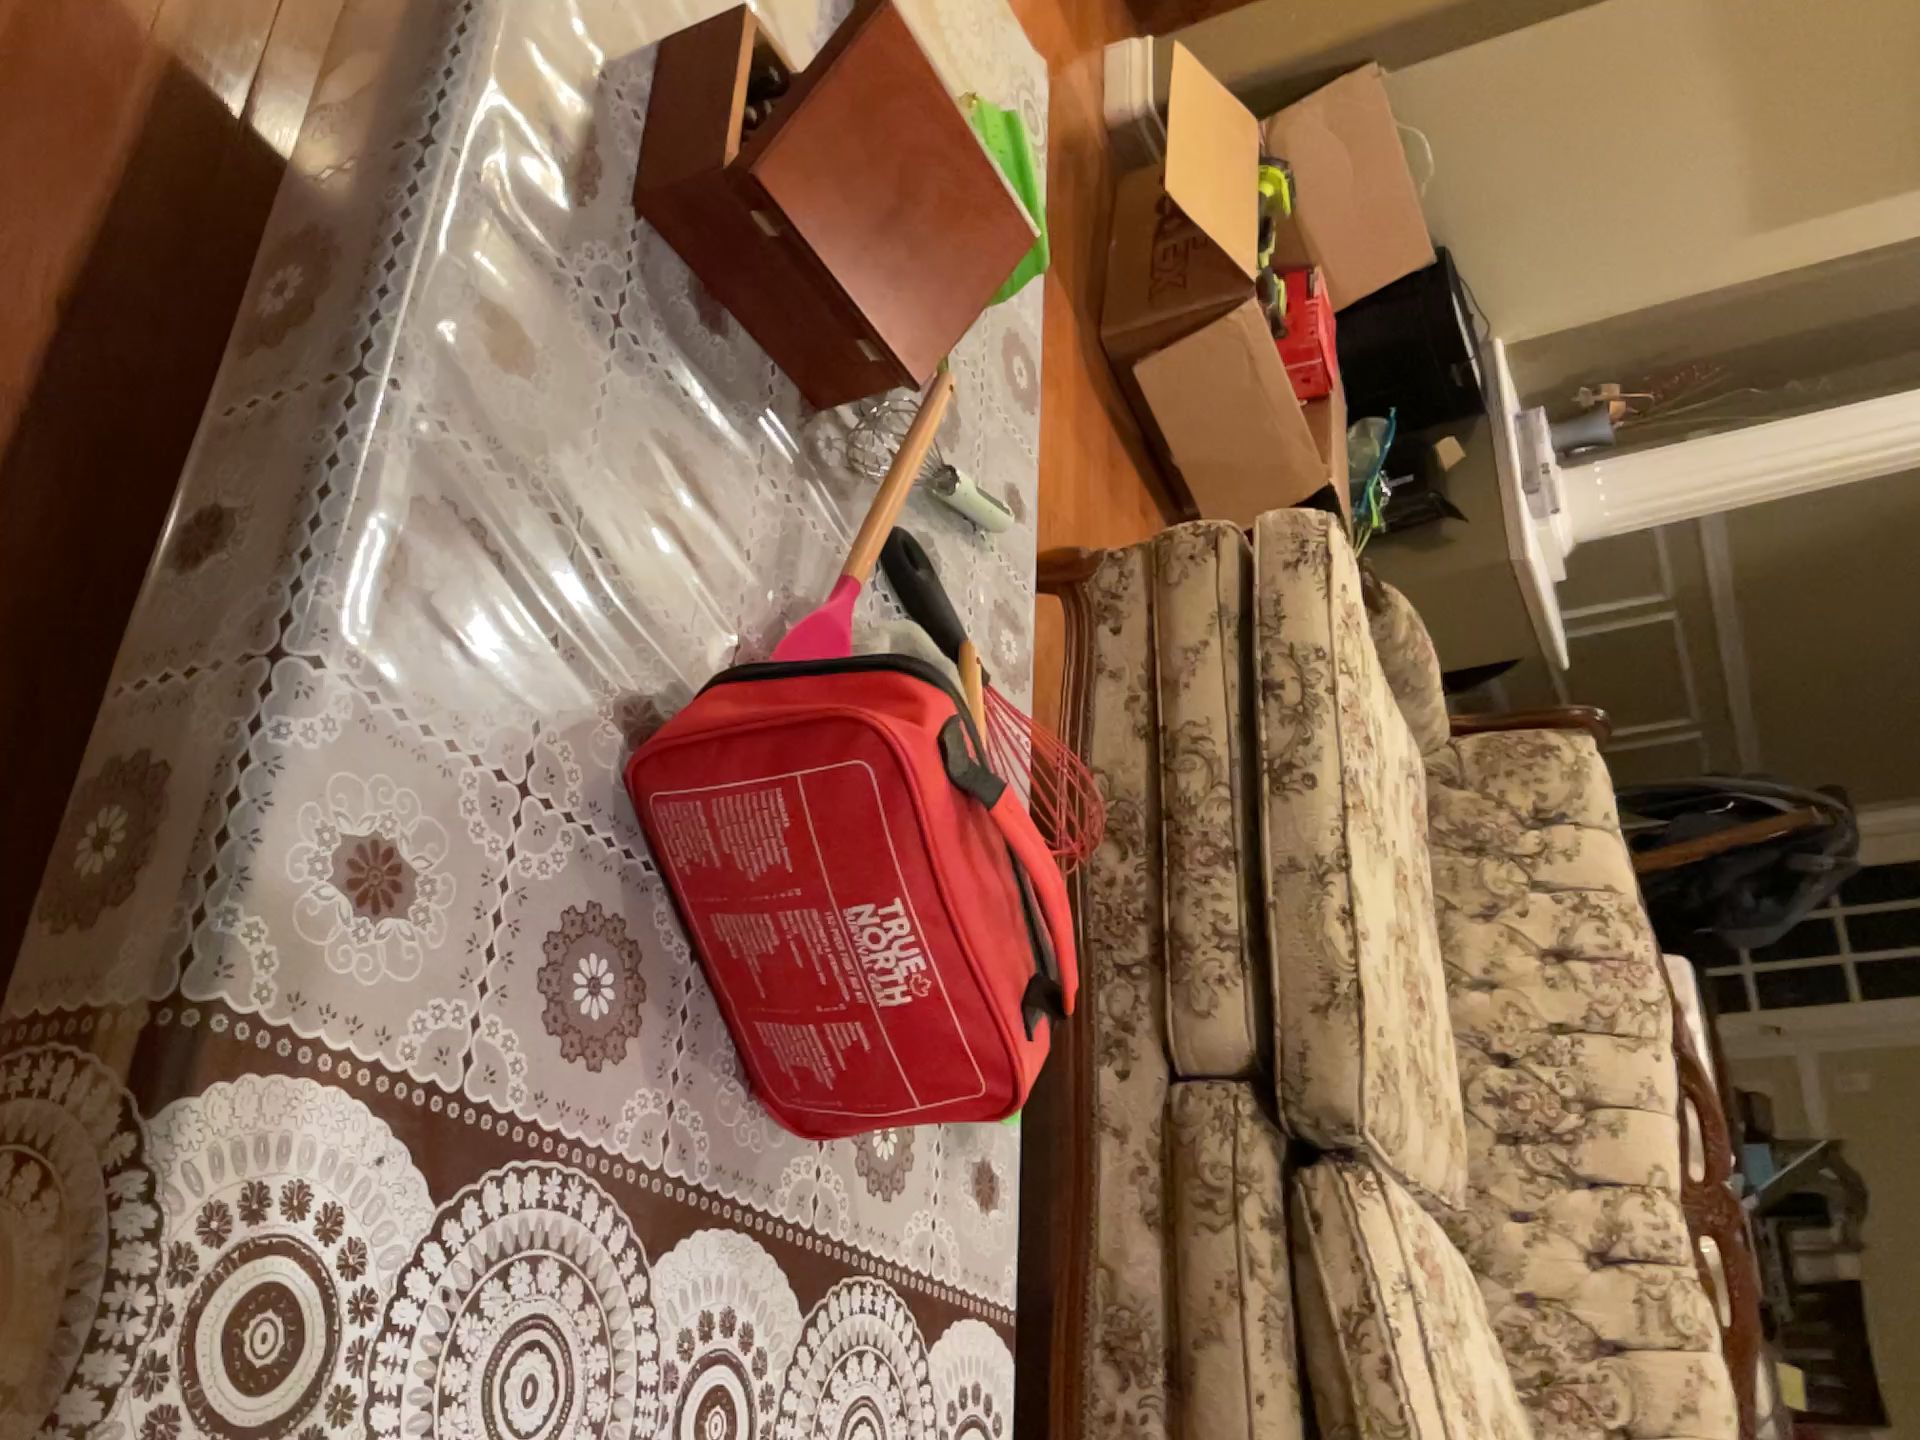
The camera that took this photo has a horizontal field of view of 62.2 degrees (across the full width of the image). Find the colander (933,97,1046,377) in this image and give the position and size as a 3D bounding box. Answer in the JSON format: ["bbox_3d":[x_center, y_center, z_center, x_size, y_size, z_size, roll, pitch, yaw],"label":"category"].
[{"bbox_3d":[-0.007,-0.430,1.129,0.204,0.094,0.397,69,11,-69],"label":"colander"}]

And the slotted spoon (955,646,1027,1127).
[{"bbox_3d":[0.013,0.105,1.040,0.070,0.031,0.314,17,67,-62],"label":"slotted spoon"}]

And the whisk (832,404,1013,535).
[{"bbox_3d":[-0.018,-0.168,1.111,0.058,0.059,0.246,-59,155,7],"label":"whisk"}]

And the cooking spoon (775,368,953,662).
[{"bbox_3d":[-0.057,-0.099,0.952,0.068,0.017,0.319,56,44,-42],"label":"cooking spoon"}]

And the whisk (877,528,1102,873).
[{"bbox_3d":[0.021,-0.009,1.103,0.295,0.073,0.073,58,37,-24],"label":"whisk"}]
